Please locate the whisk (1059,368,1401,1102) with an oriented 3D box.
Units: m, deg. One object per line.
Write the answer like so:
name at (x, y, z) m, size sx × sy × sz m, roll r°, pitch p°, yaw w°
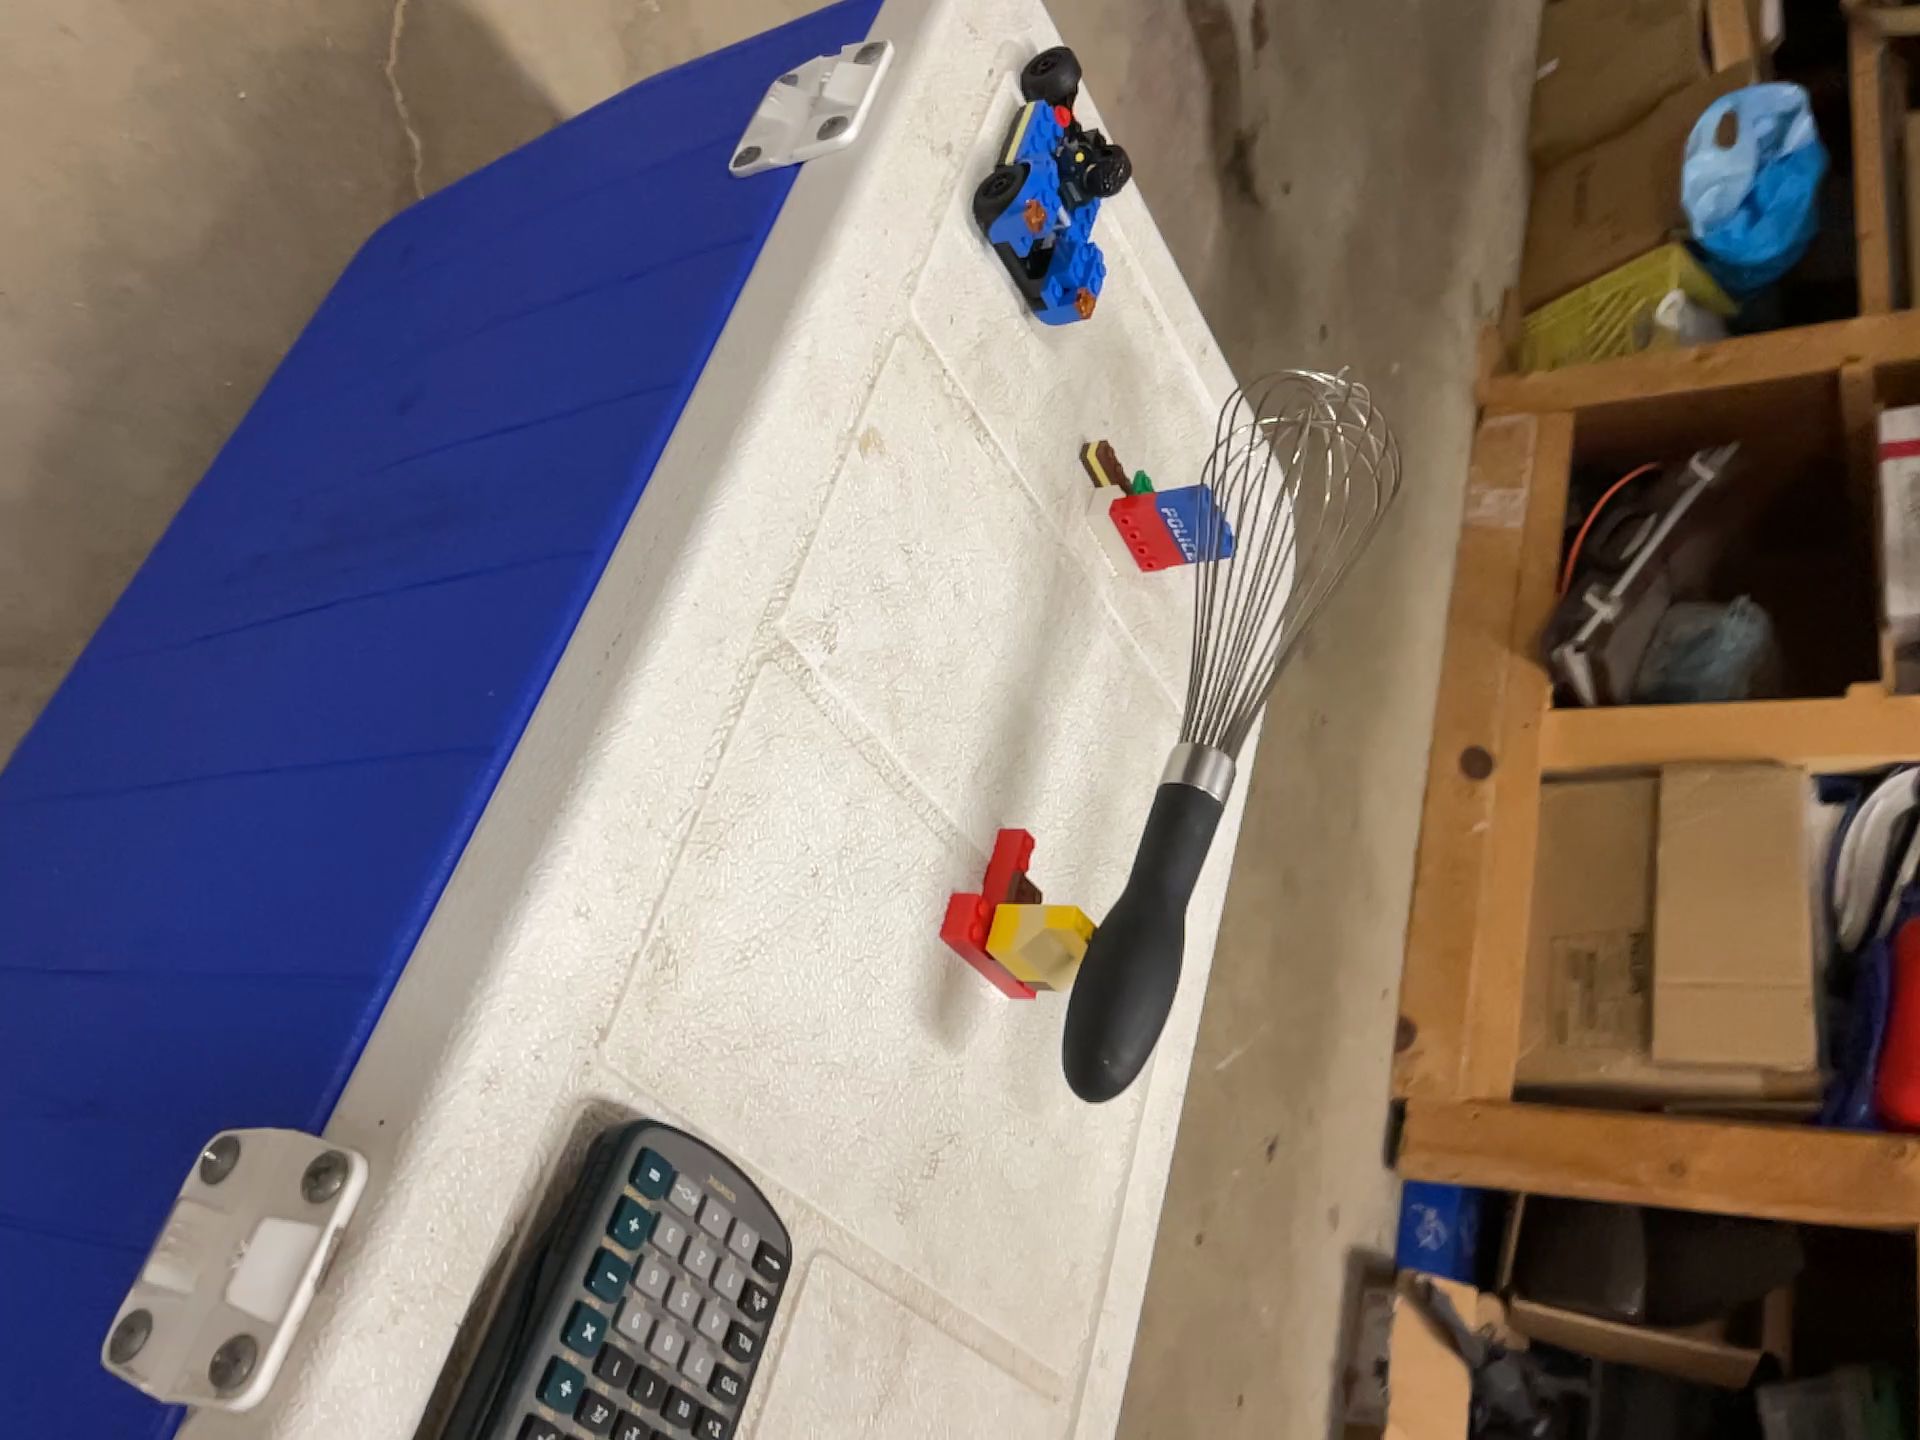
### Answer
whisk at (0.088, -0.007, 0.529) m, size 0.070 × 0.070 × 0.285 m, roll 53°, pitch 51°, yaw -46°
